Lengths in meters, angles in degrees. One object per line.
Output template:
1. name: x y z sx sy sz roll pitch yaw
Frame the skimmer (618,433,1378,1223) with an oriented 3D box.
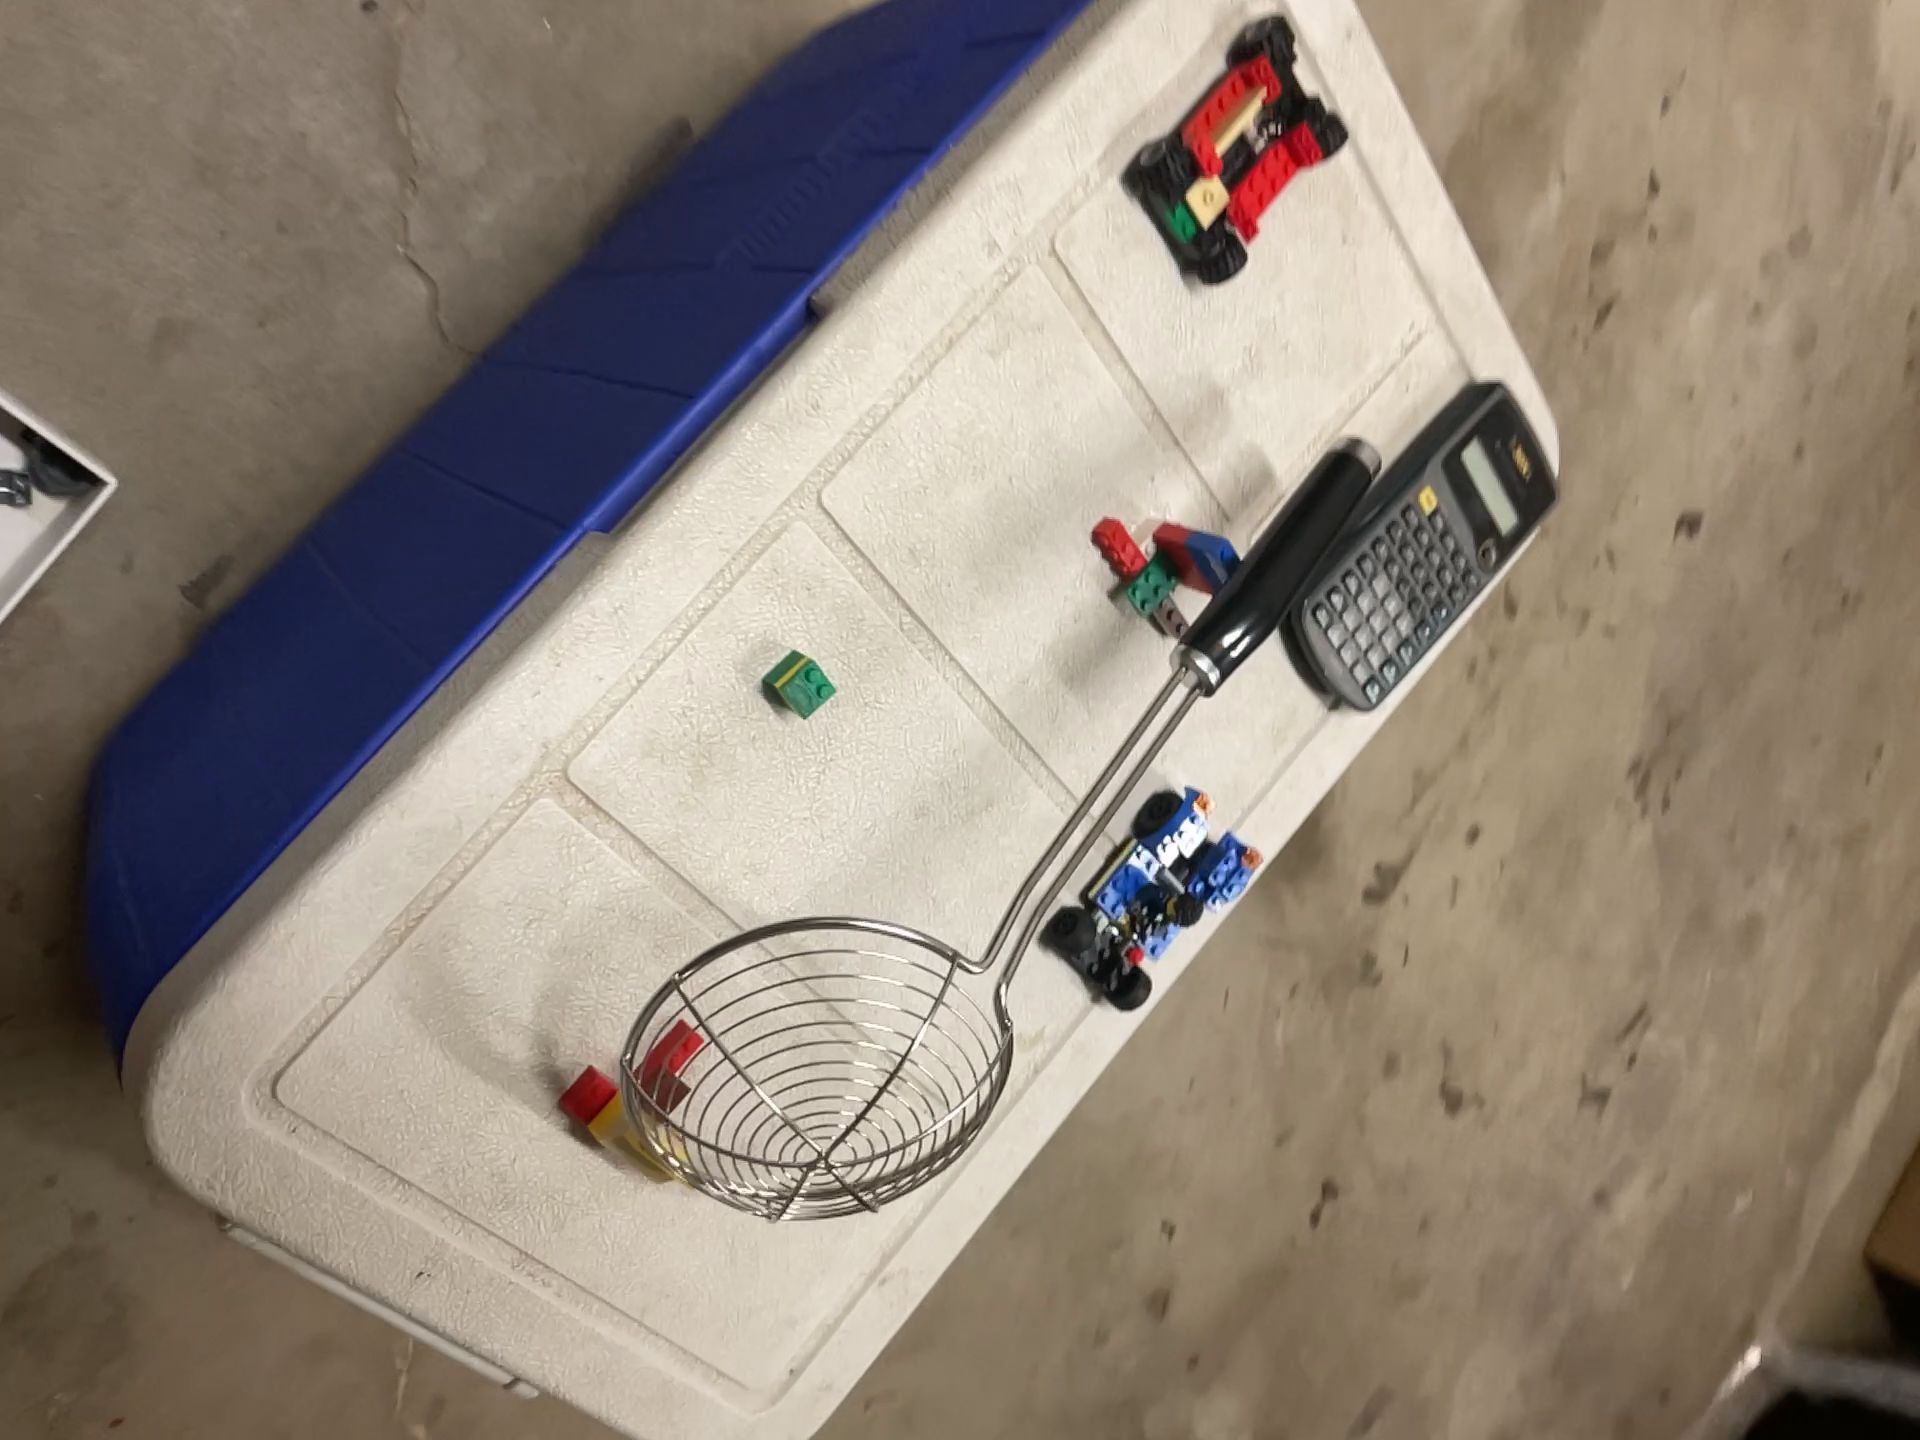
1. skimmer: 0.030 0.021 0.575 0.364 0.090 0.127 -51 126 -23
